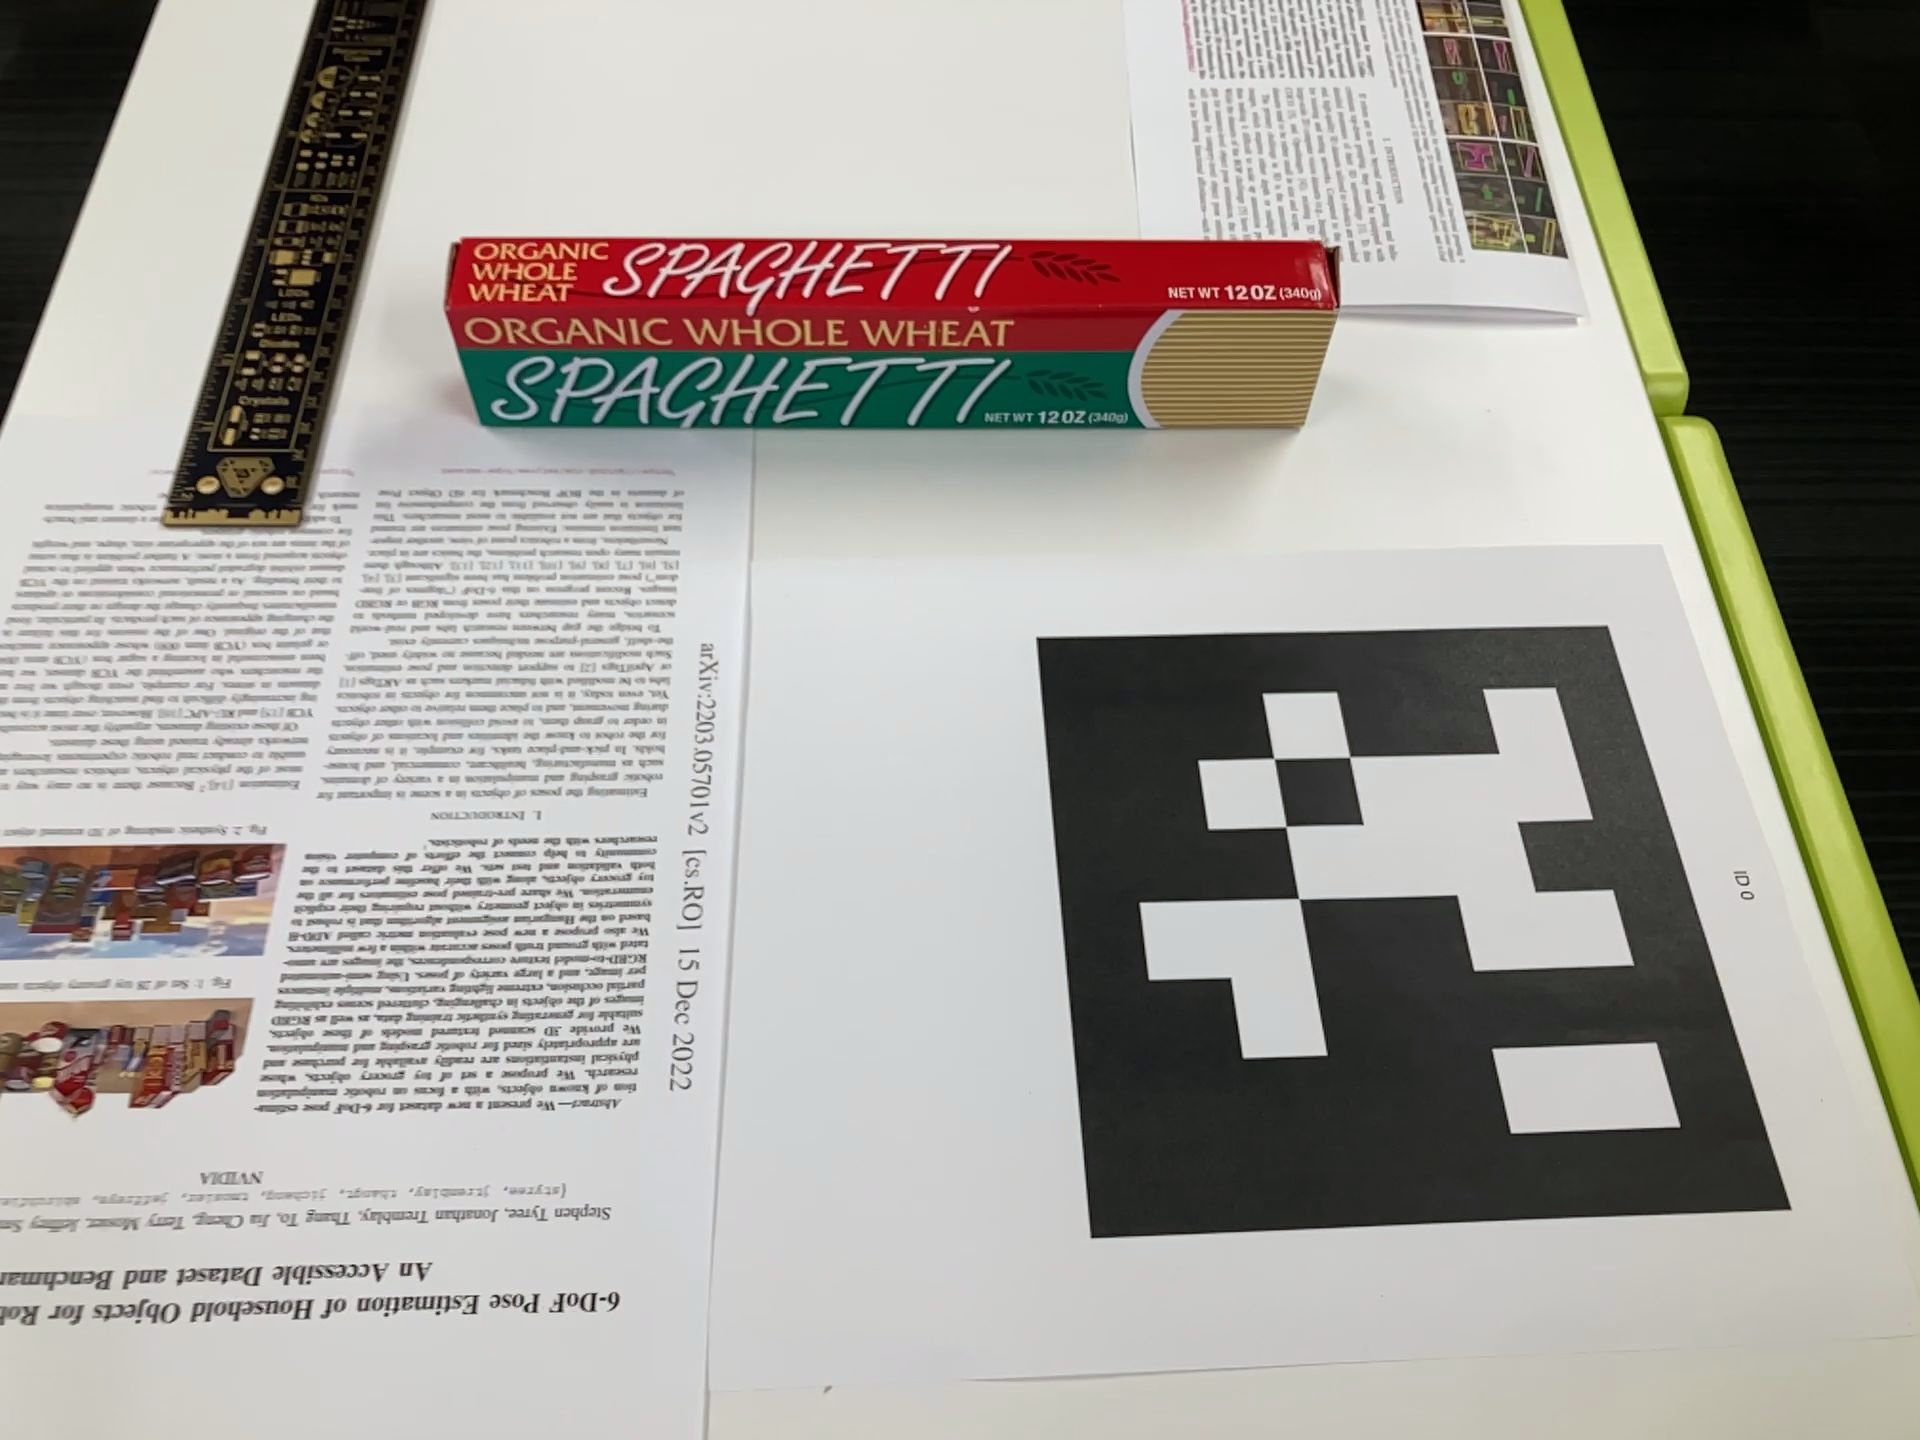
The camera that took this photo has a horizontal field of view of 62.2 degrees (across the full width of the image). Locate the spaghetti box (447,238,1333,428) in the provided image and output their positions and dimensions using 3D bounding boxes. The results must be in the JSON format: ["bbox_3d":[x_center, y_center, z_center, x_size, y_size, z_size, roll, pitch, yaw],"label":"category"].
[{"bbox_3d":[-0.020,-0.113,0.465,0.250,0.050,0.028,-1,57,-3],"label":"spaghetti box"}]
